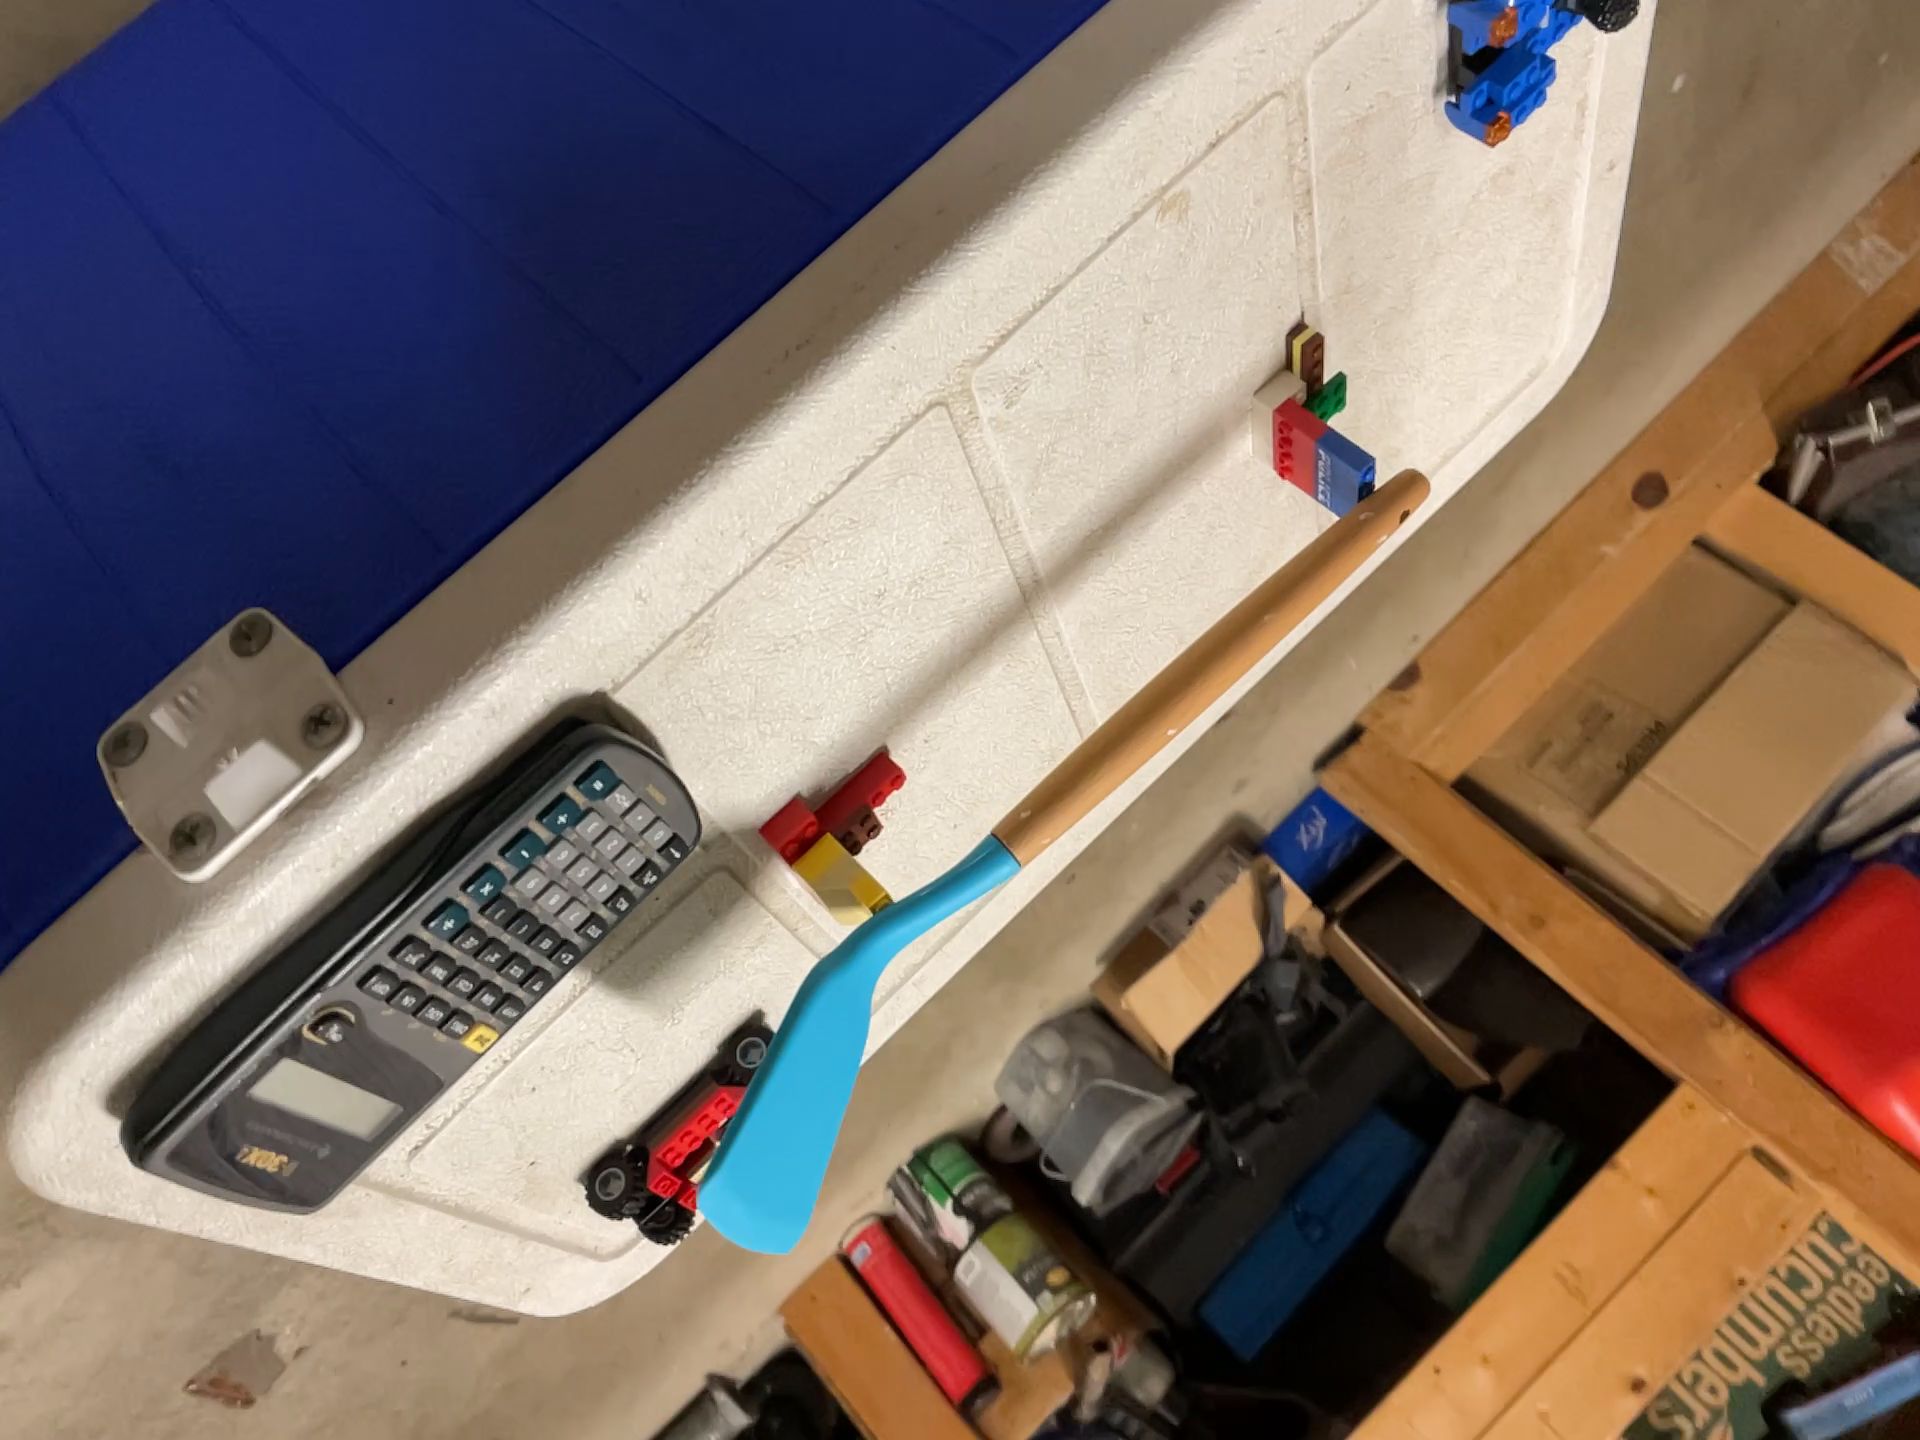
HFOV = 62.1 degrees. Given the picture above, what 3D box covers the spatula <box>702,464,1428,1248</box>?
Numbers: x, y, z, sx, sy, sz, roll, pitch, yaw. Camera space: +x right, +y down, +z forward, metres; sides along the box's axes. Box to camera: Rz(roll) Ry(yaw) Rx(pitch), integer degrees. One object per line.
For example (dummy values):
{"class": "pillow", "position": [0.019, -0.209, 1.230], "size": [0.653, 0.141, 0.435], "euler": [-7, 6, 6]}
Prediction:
{"class": "spatula", "position": [0.041, 0.029, 0.494], "size": [0.317, 0.044, 0.082], "euler": [-42, 149, -10]}
